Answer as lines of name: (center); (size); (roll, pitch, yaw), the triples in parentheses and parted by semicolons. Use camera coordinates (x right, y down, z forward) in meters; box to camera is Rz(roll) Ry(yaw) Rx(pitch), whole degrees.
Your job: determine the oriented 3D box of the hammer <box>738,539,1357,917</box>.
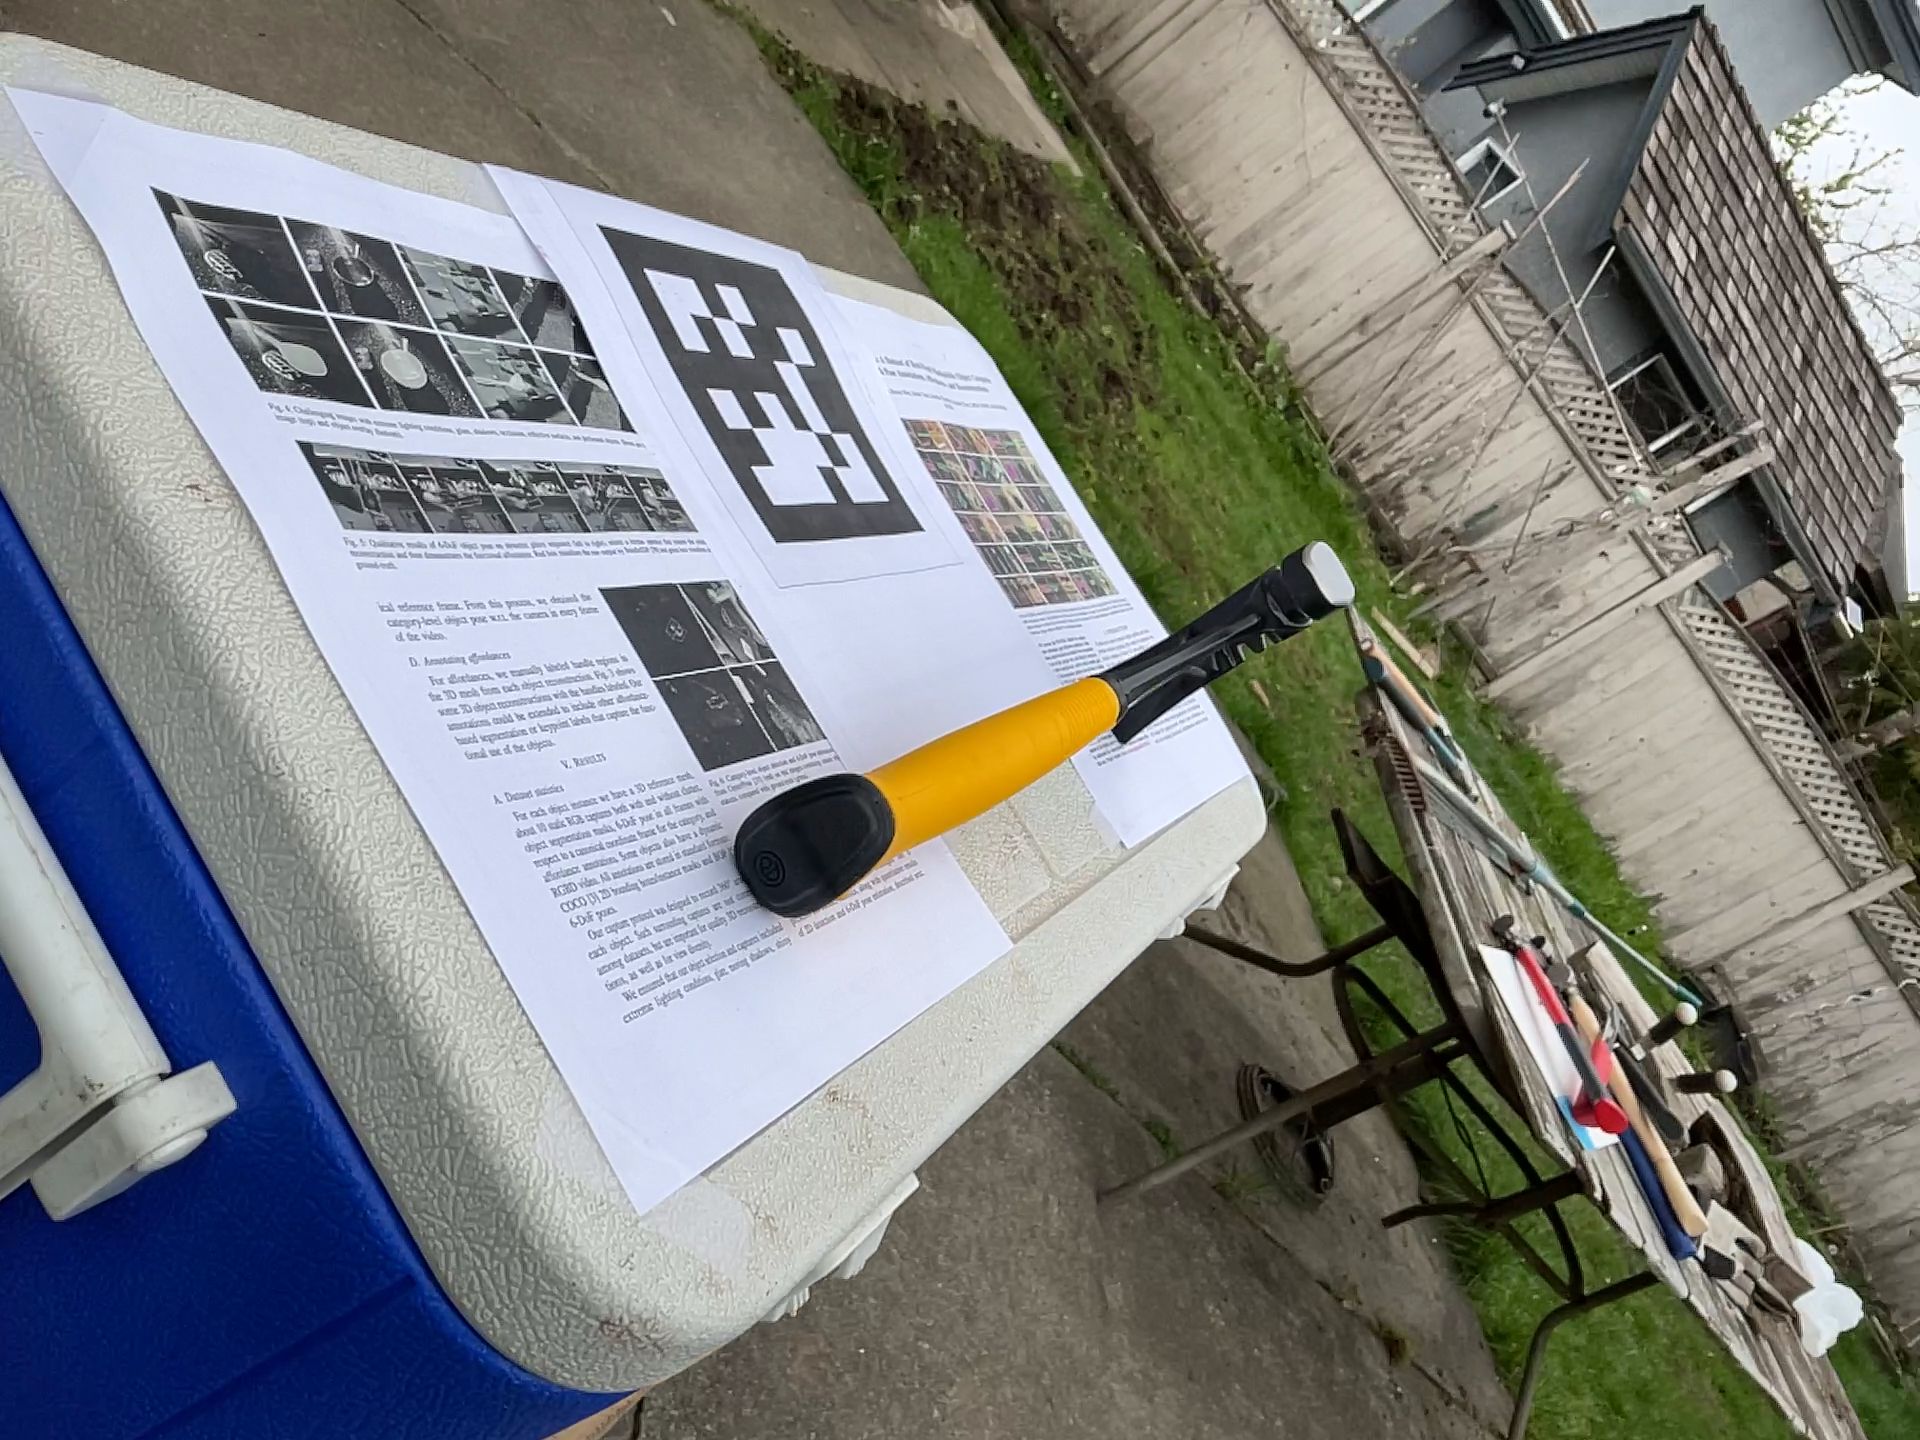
hammer: (0.033, 0.002, 0.552); (0.034, 0.127, 0.337); (59, 33, 5)
